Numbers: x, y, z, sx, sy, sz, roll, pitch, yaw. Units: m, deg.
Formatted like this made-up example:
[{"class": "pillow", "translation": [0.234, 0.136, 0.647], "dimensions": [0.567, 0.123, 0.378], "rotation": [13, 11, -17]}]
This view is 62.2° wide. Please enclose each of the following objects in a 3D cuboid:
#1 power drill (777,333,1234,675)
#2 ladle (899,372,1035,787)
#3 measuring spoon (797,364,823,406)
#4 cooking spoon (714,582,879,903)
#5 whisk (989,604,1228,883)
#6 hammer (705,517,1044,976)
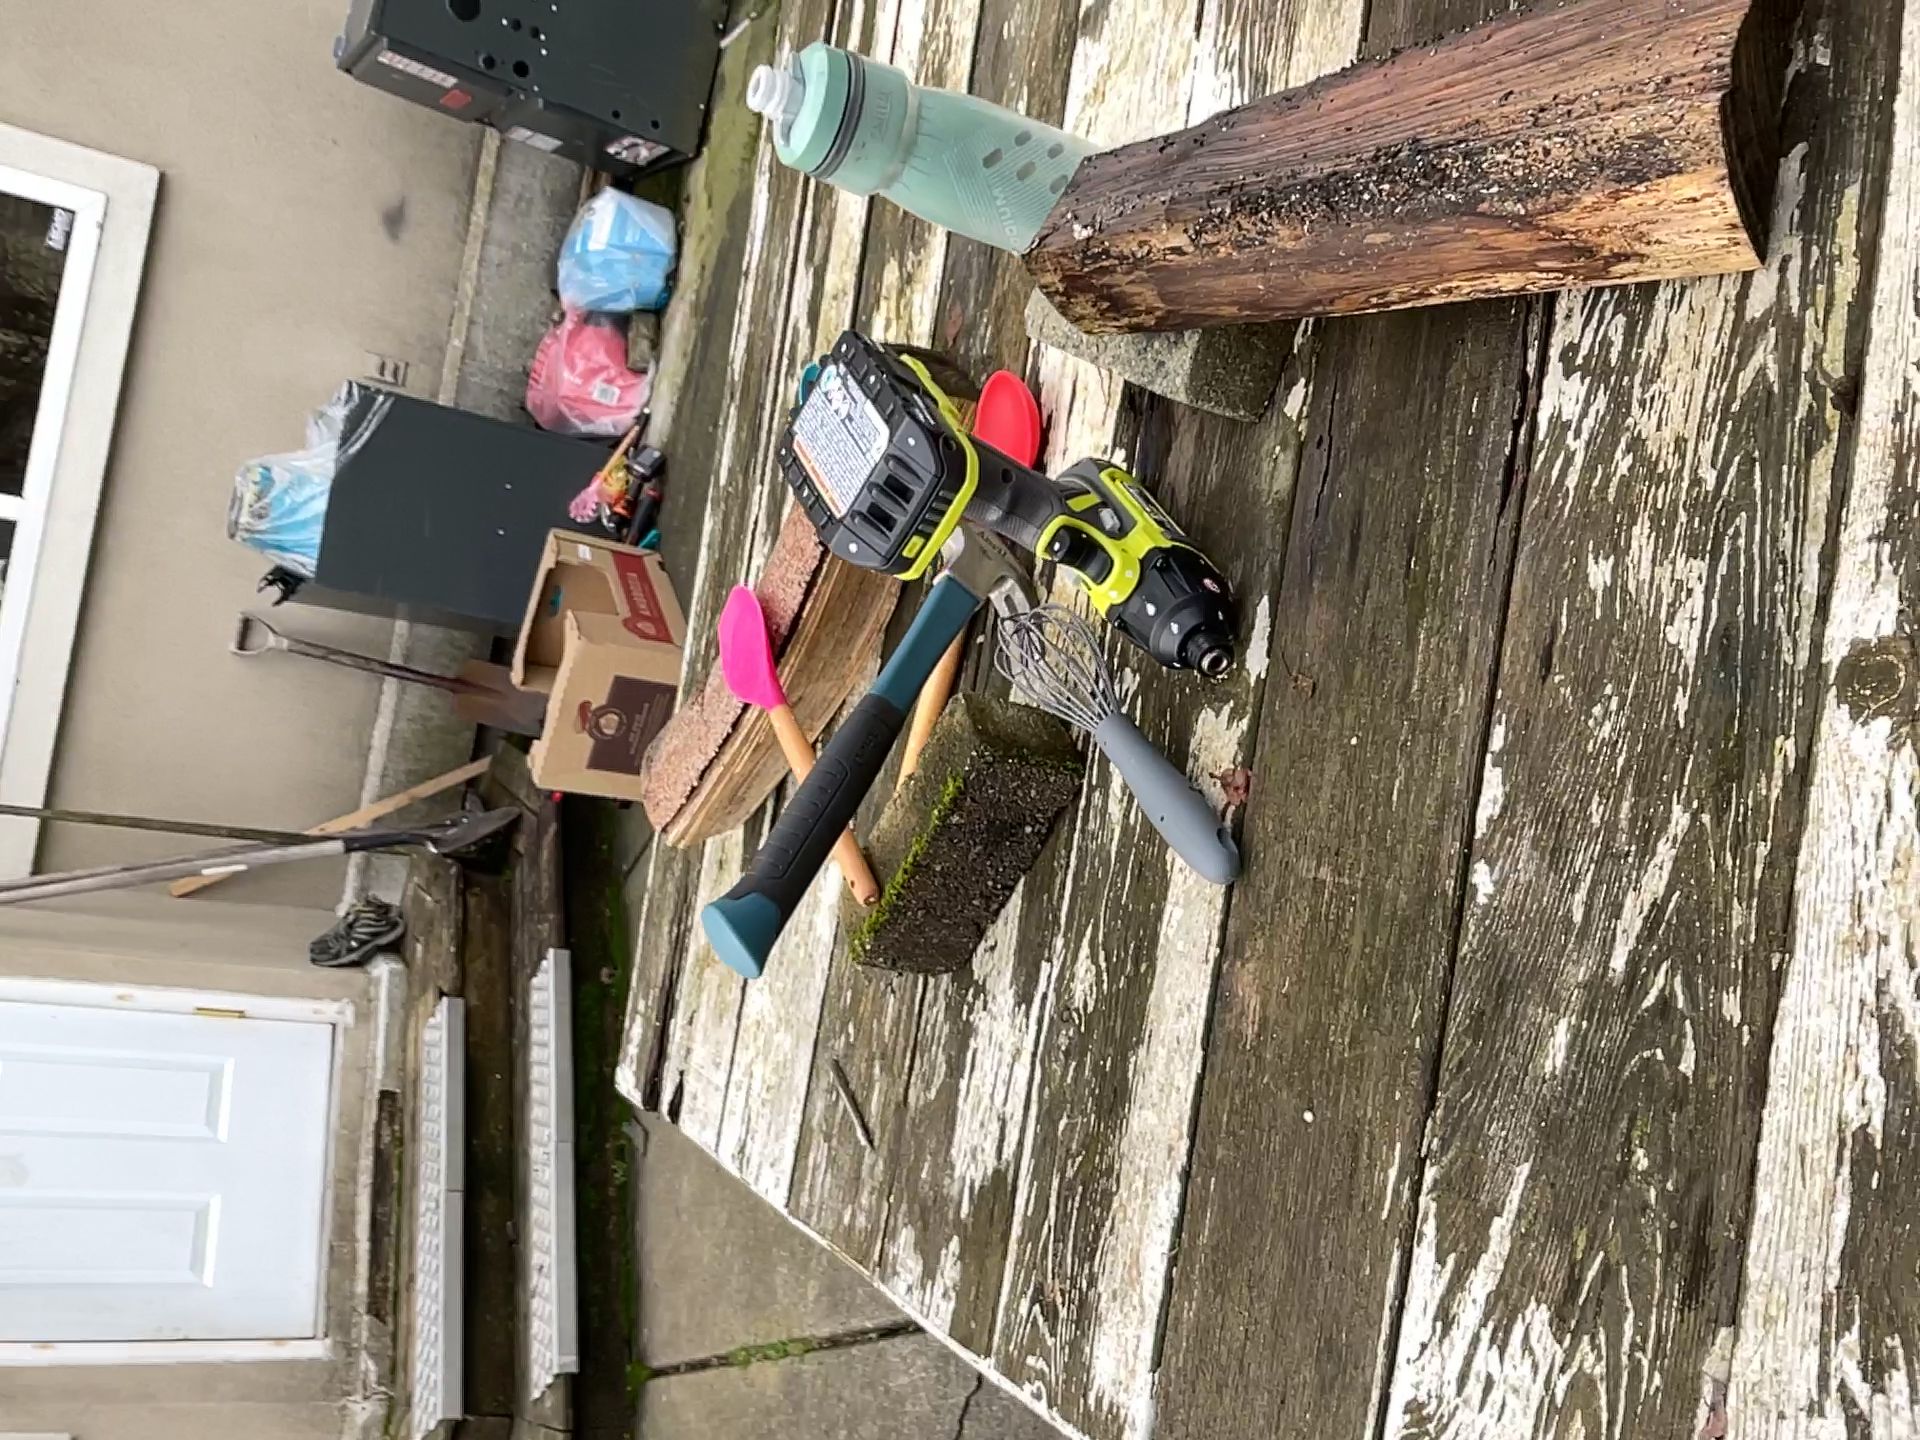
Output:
[{"class": "power drill", "translation": [0.033, -0.100, 0.803], "dimensions": [0.080, 0.222, 0.171], "rotation": [-57, 37, 22]}, {"class": "ladle", "translation": [-0.002, -0.071, 1.054], "dimensions": [0.069, 0.031, 0.315], "rotation": [35, 114, 56]}, {"class": "measuring spoon", "translation": [-0.076, -0.177, 1.060], "dimensions": [0.042, 0.021, 0.129], "rotation": [-28, 79, 54]}, {"class": "cooking spoon", "translation": [-0.114, 0.009, 1.060], "dimensions": [0.068, 0.017, 0.319], "rotation": [-62, 38, 27]}, {"class": "whisk", "translation": [0.078, 0.008, 0.857], "dimensions": [0.239, 0.055, 0.055], "rotation": [56, 137, 47]}, {"class": "hammer", "translation": [-0.050, 0.003, 0.912], "dimensions": [0.033, 0.128, 0.331], "rotation": [-37, 18, 53]}]
